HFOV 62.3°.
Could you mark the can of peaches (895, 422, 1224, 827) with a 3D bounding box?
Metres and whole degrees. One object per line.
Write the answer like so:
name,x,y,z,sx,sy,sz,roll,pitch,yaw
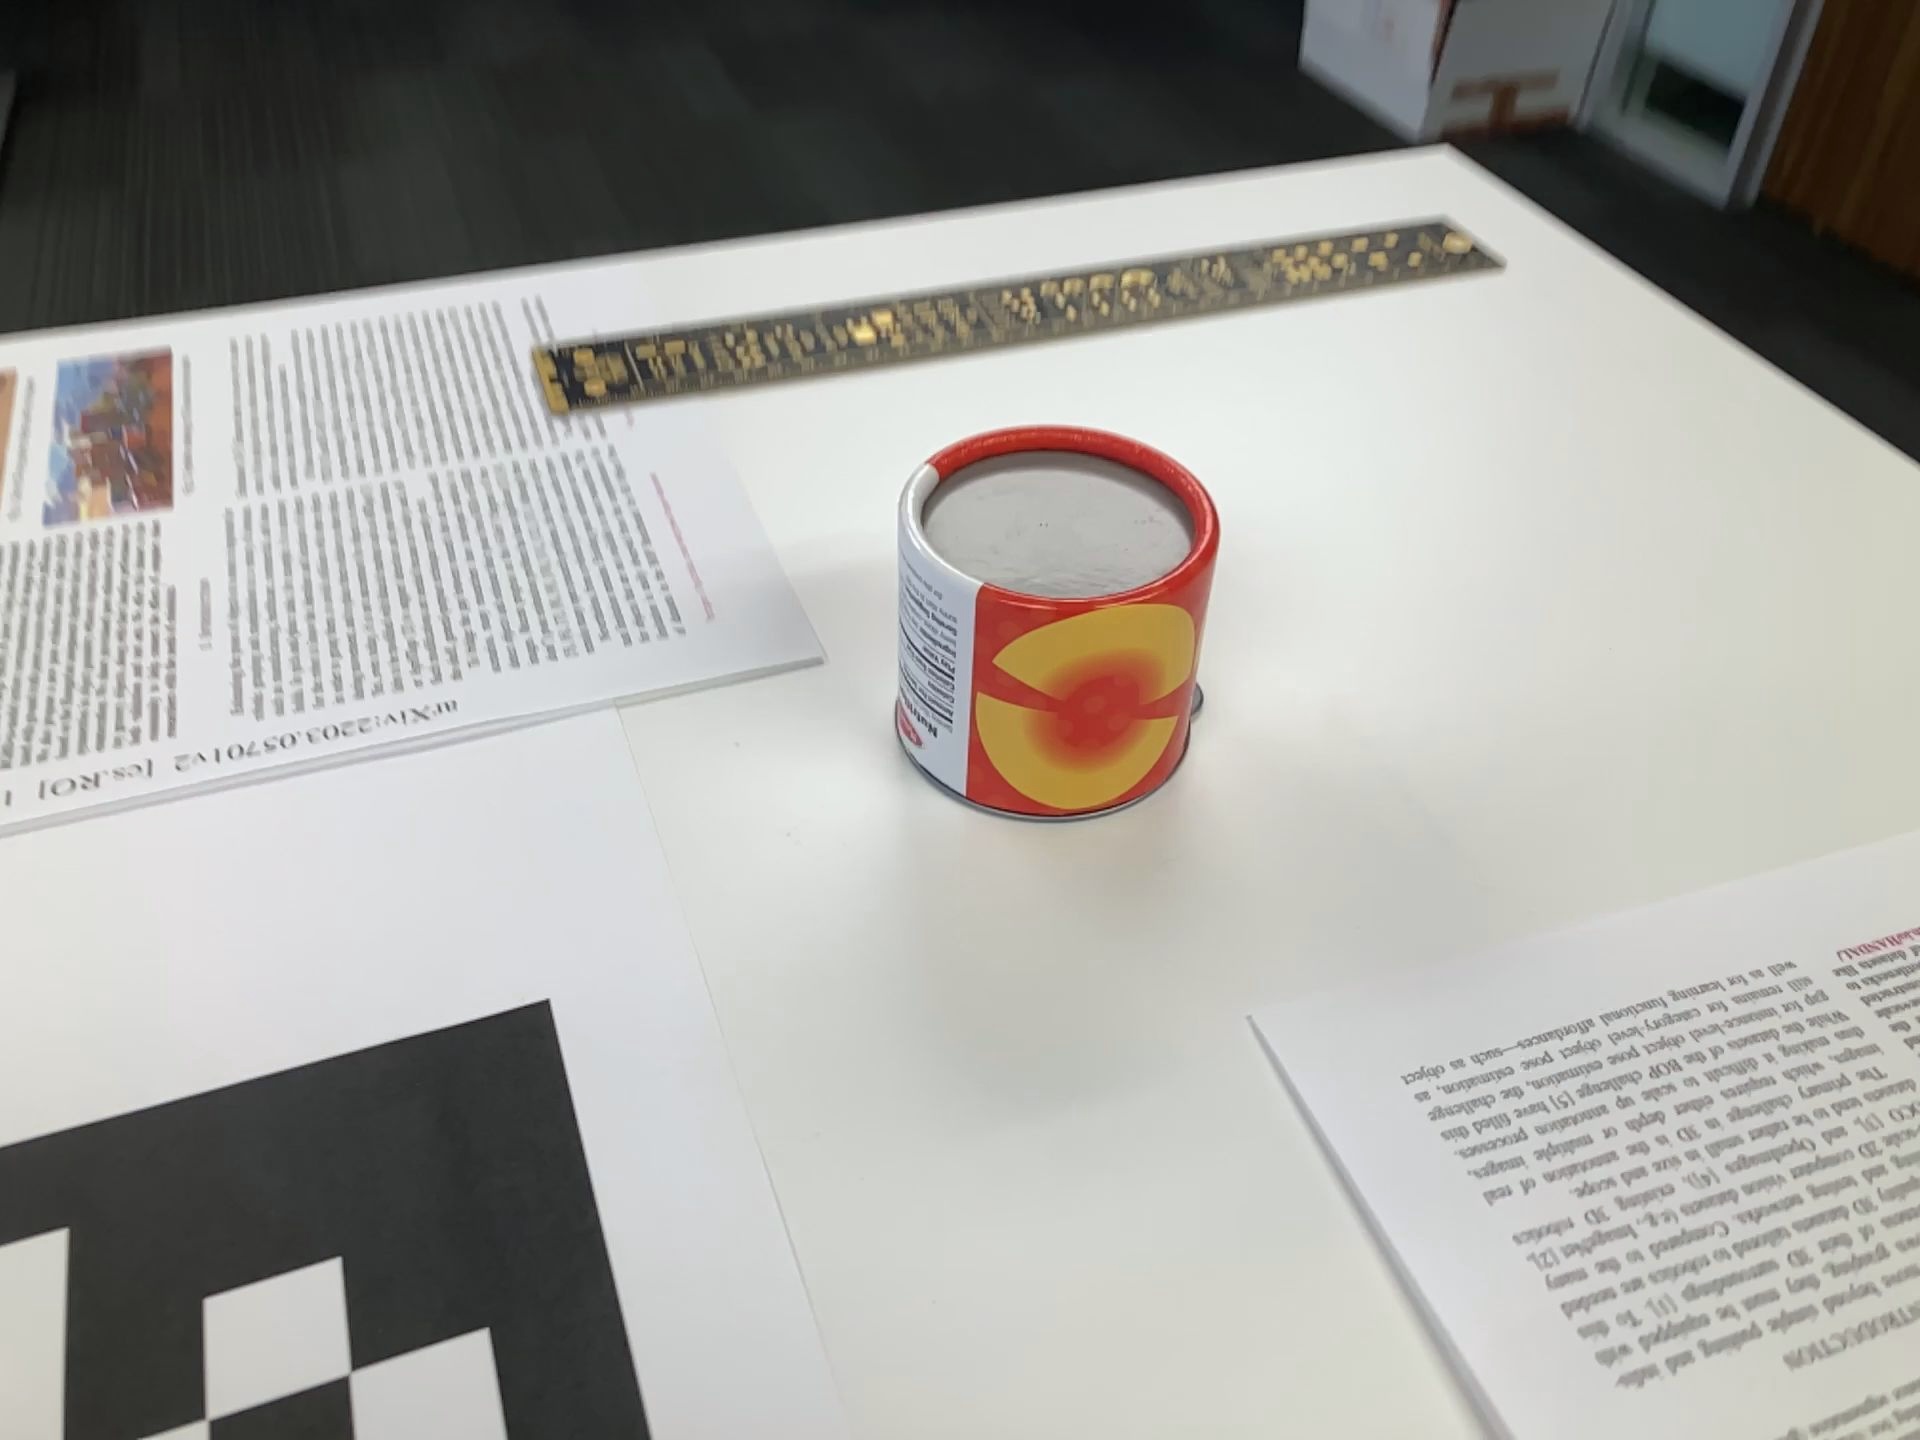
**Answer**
can of peaches,0.021,-0.022,0.334,0.071,0.058,0.071,0,41,0
